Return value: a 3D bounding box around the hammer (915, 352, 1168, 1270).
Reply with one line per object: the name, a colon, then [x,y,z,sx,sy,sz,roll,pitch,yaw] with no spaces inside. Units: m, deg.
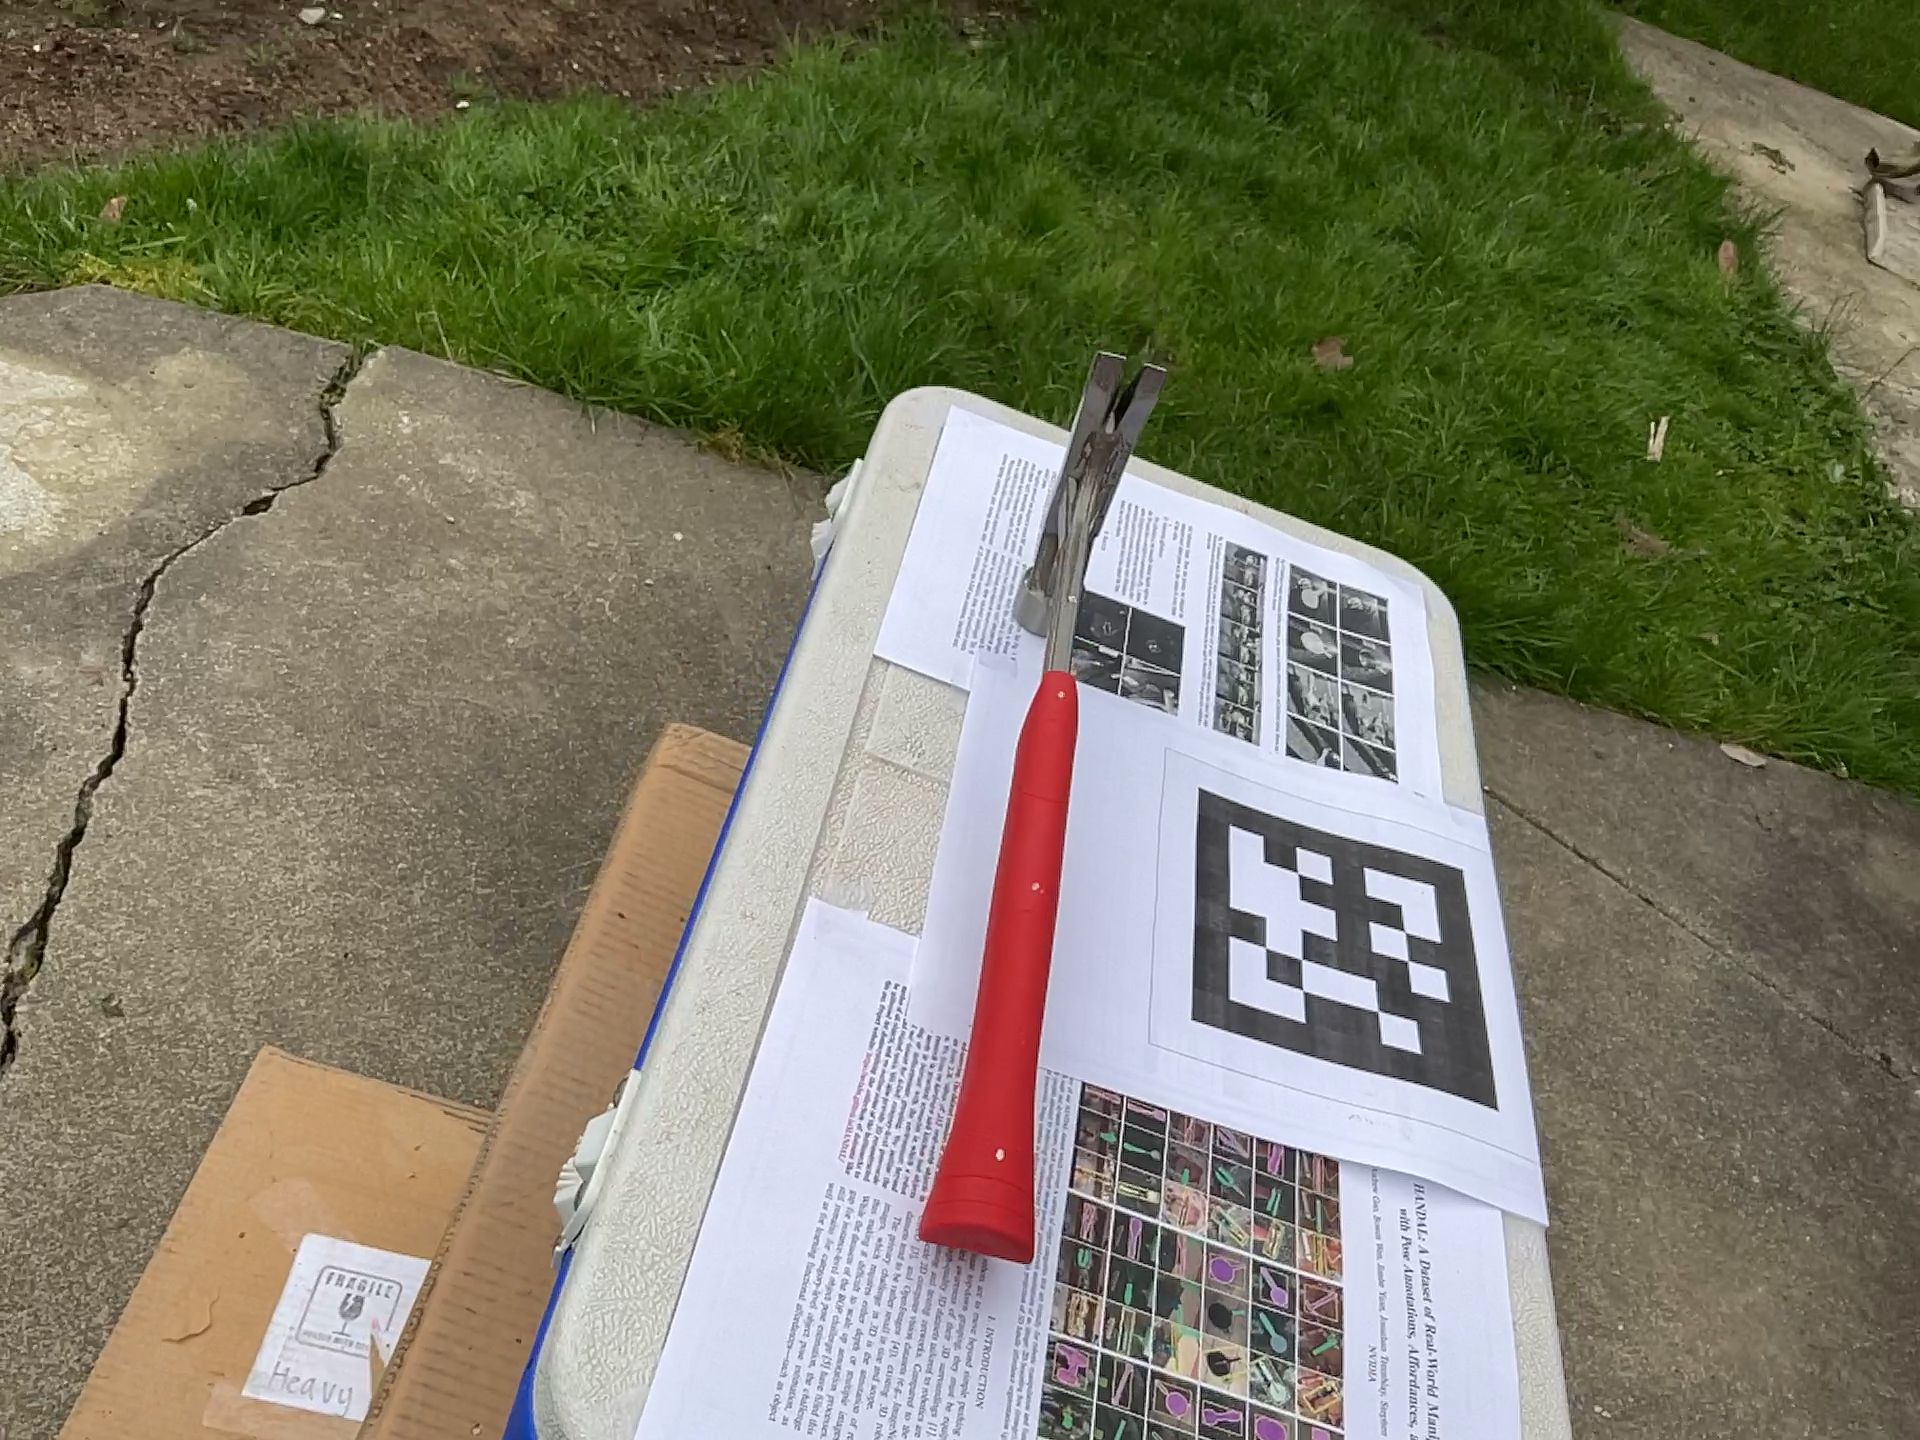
hammer: [0.032,0.024,0.597,0.036,0.149,0.359,14,48,-4]
